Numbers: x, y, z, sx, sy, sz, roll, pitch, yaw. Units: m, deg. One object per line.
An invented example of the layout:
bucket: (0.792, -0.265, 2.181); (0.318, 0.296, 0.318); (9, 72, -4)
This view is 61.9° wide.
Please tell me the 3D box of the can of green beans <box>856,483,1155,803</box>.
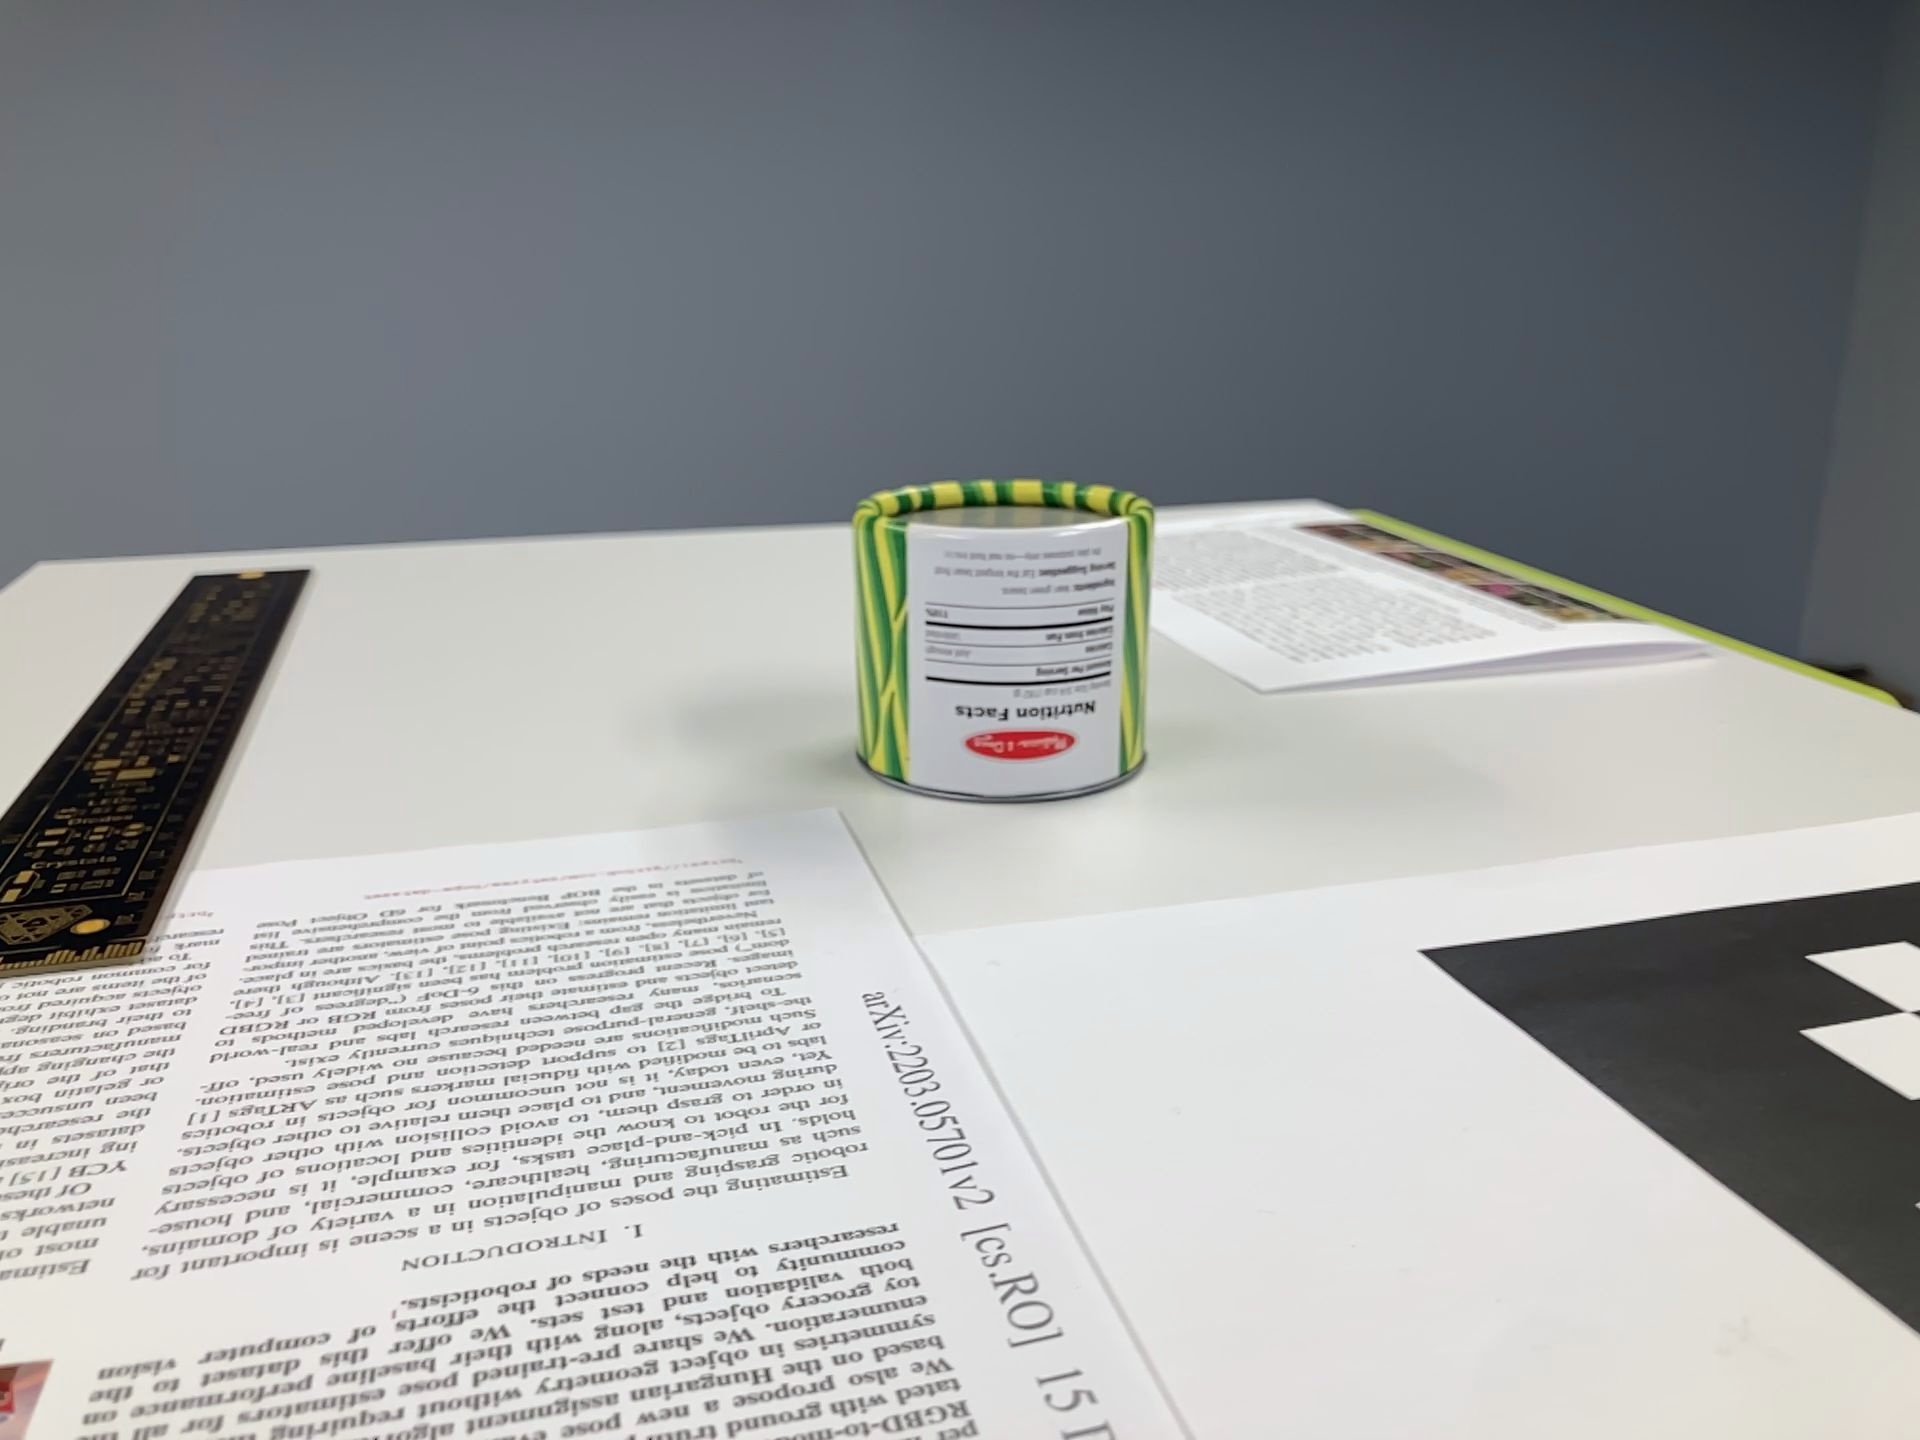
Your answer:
can of green beans: (0.010, -0.020, 0.359); (0.071, 0.058, 0.071); (0, 17, 0)
